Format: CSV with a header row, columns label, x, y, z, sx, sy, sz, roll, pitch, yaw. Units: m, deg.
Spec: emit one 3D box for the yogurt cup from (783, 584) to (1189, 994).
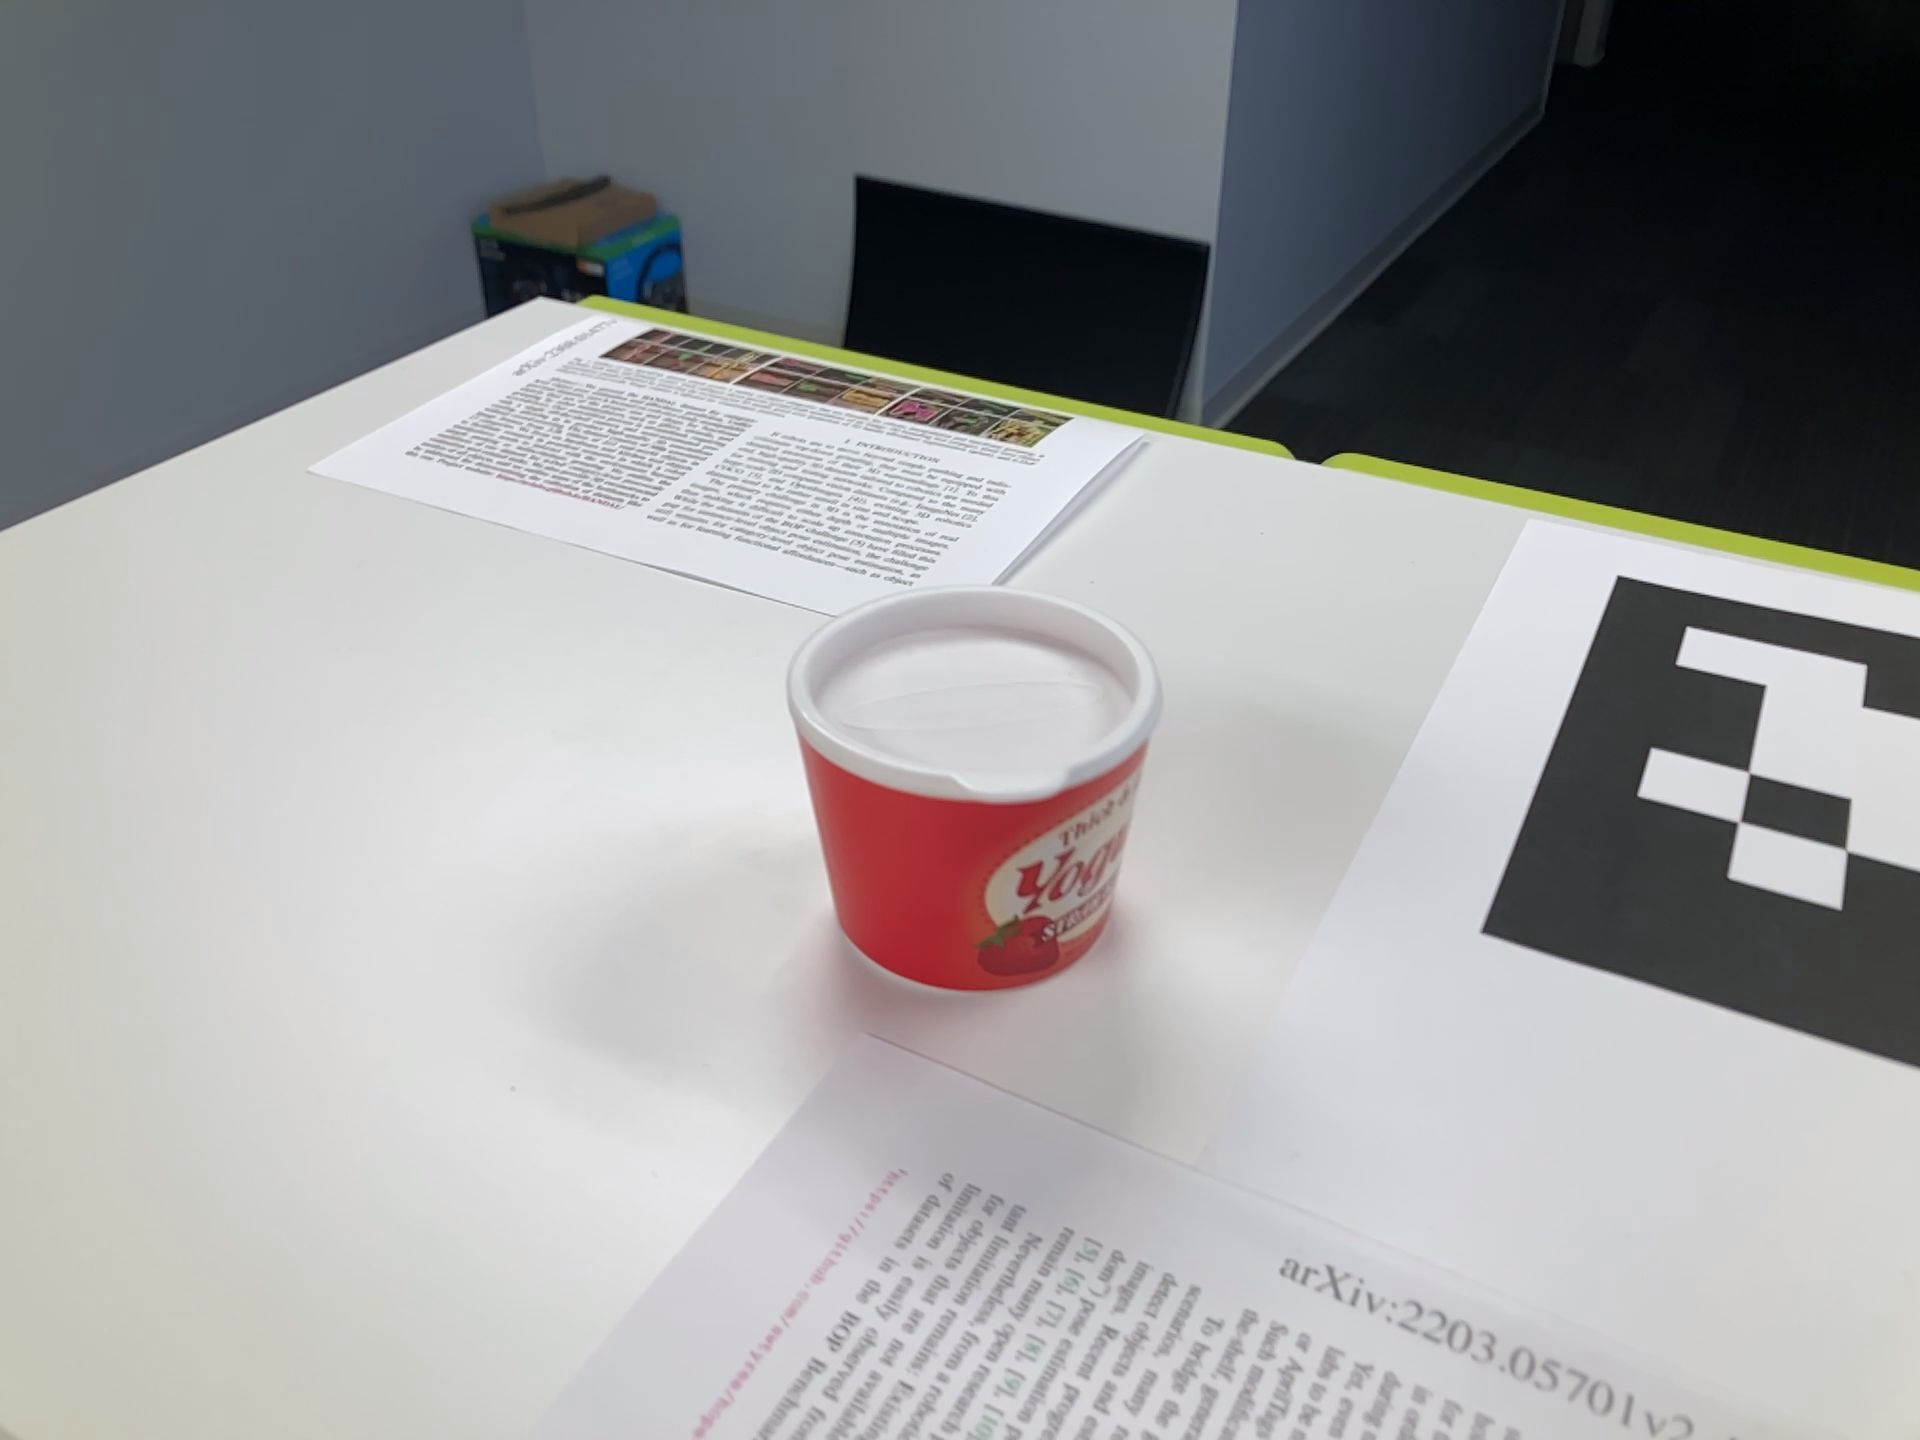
label,x,y,z,sx,sy,sz,roll,pitch,yaw
yogurt cup,0.003,0.013,0.295,0.072,0.054,0.072,0,32,0
